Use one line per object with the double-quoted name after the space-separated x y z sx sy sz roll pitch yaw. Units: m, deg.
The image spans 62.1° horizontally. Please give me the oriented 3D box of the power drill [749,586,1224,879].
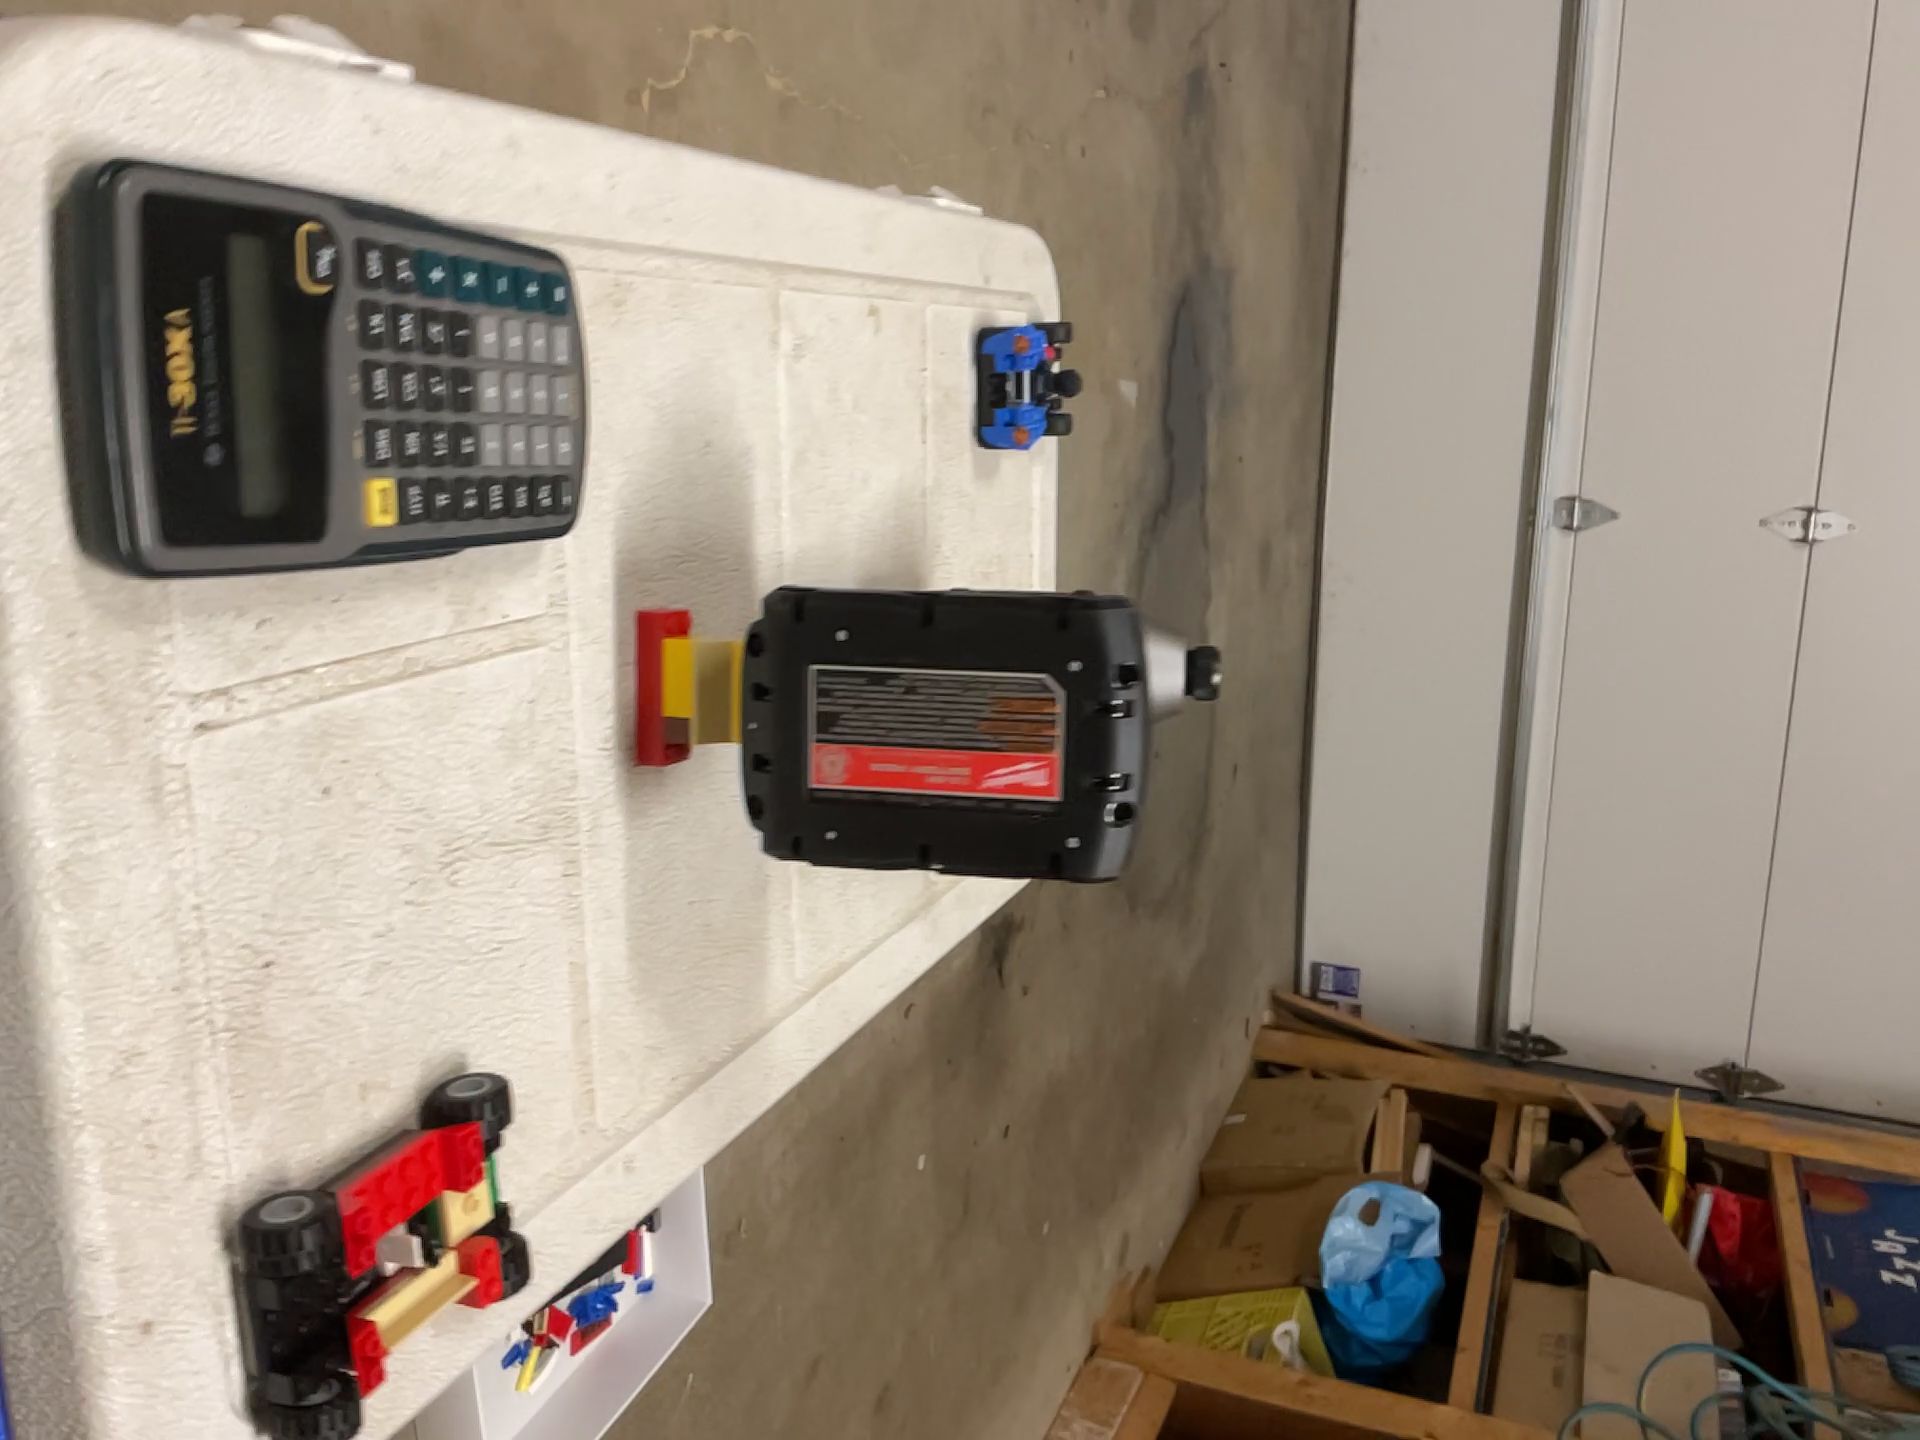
0.018 -0.010 0.547 0.220 0.143 0.078 -41 133 -78 "power drill"
